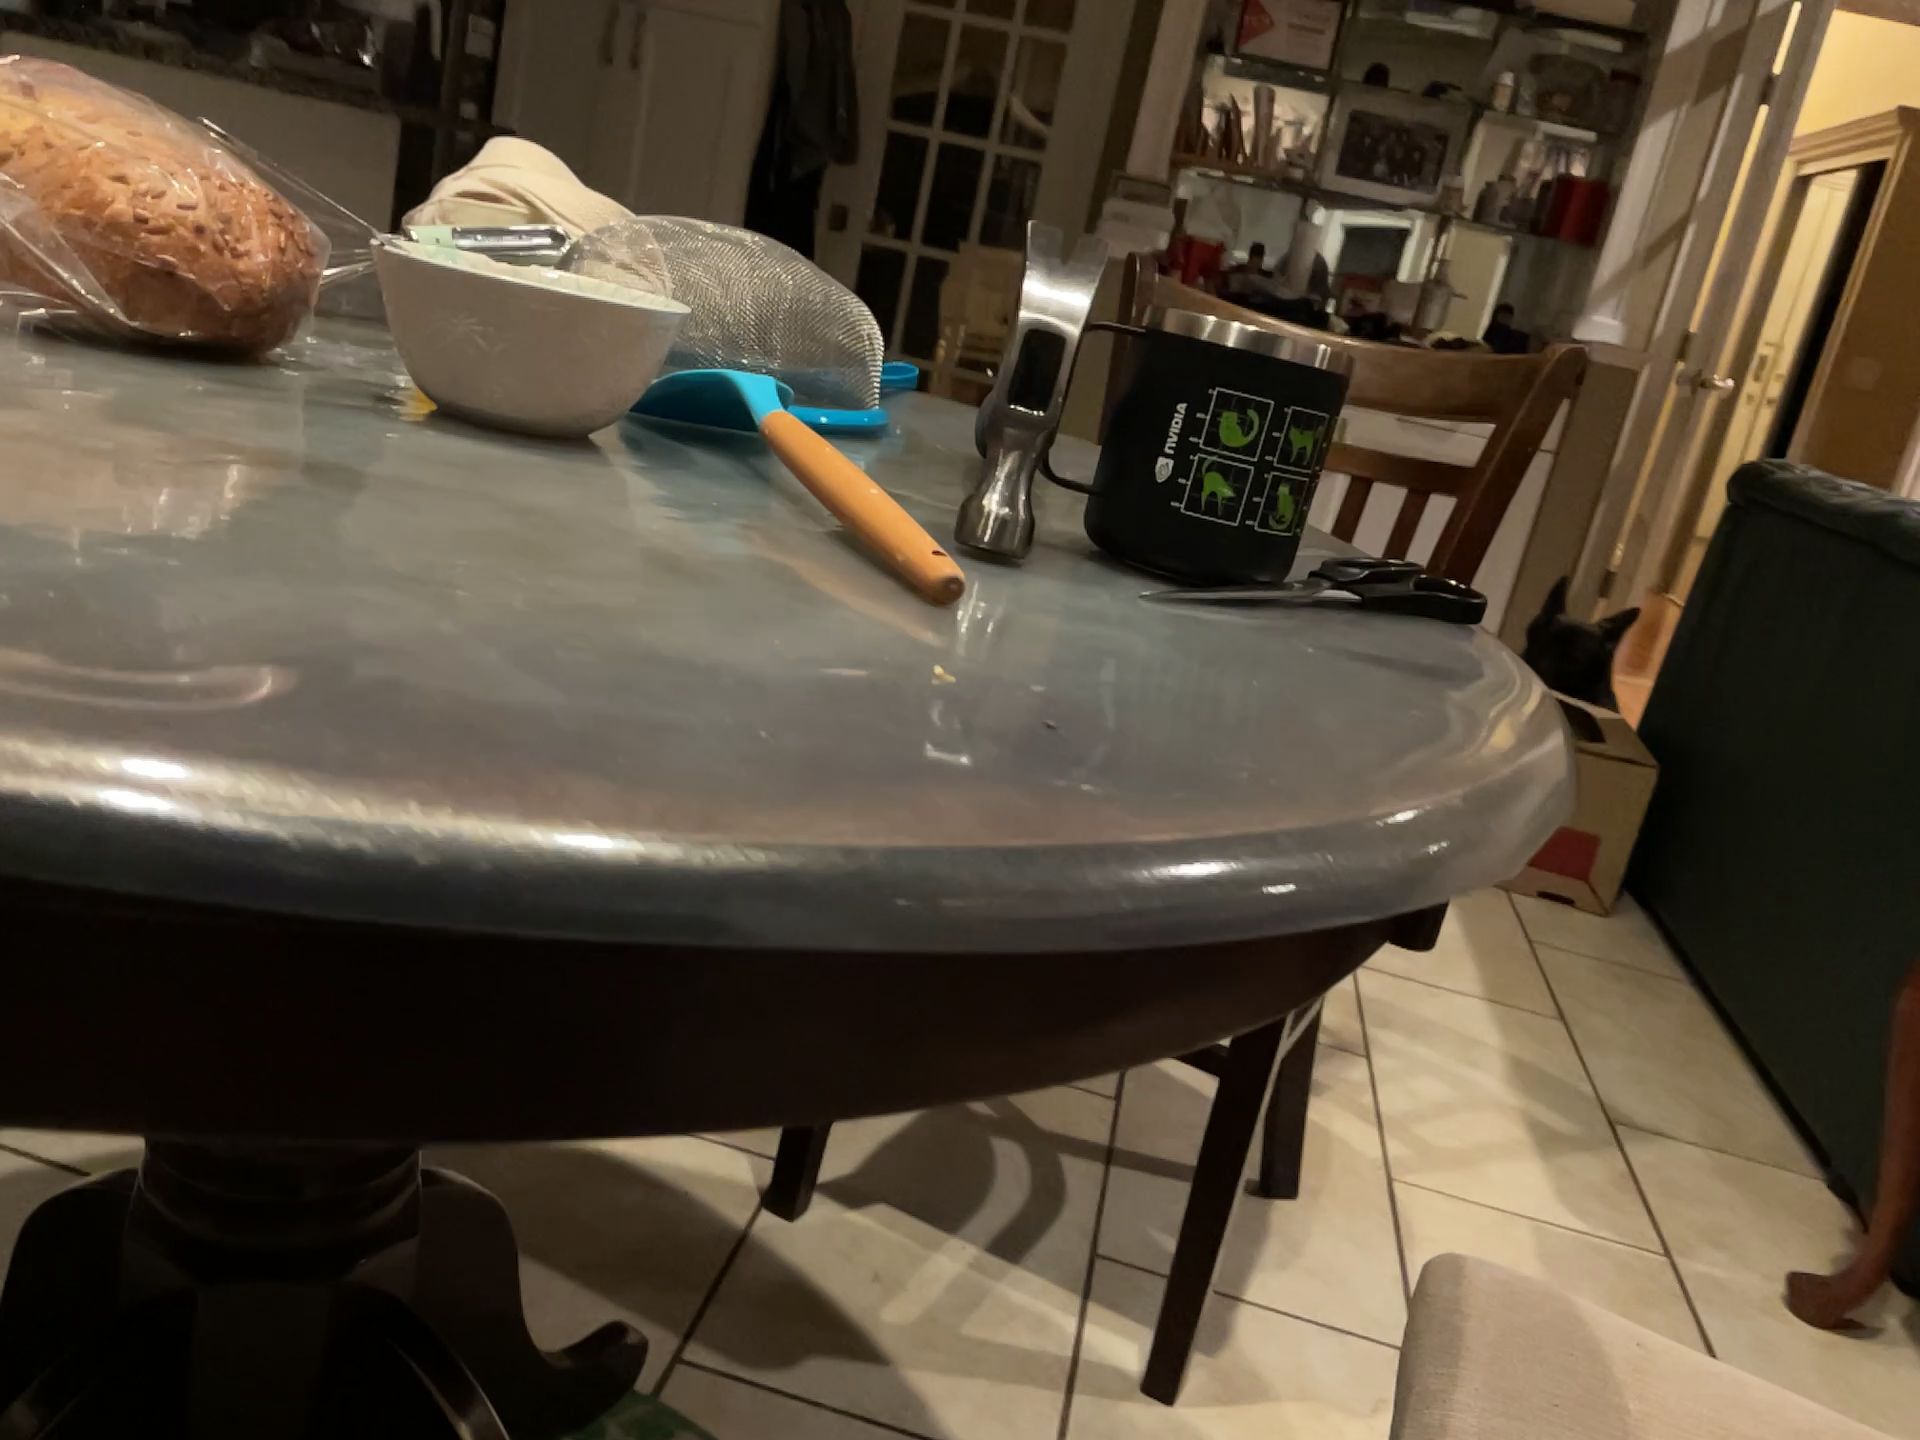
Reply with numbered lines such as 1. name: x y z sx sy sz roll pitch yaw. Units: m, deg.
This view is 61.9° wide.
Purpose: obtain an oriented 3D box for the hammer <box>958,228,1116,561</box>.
1. hammer: 0.027 -0.142 0.743 0.033 0.128 0.331 15 7 -3

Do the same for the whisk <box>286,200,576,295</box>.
1. whisk: -0.317 -0.267 0.908 0.059 0.058 0.246 -13 5 40

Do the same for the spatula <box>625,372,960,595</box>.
1. spatula: -0.066 -0.099 0.637 0.082 0.044 0.318 6 21 -26

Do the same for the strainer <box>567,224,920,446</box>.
1. strainer: -0.105 -0.238 0.945 0.211 0.095 0.340 20 21 22
